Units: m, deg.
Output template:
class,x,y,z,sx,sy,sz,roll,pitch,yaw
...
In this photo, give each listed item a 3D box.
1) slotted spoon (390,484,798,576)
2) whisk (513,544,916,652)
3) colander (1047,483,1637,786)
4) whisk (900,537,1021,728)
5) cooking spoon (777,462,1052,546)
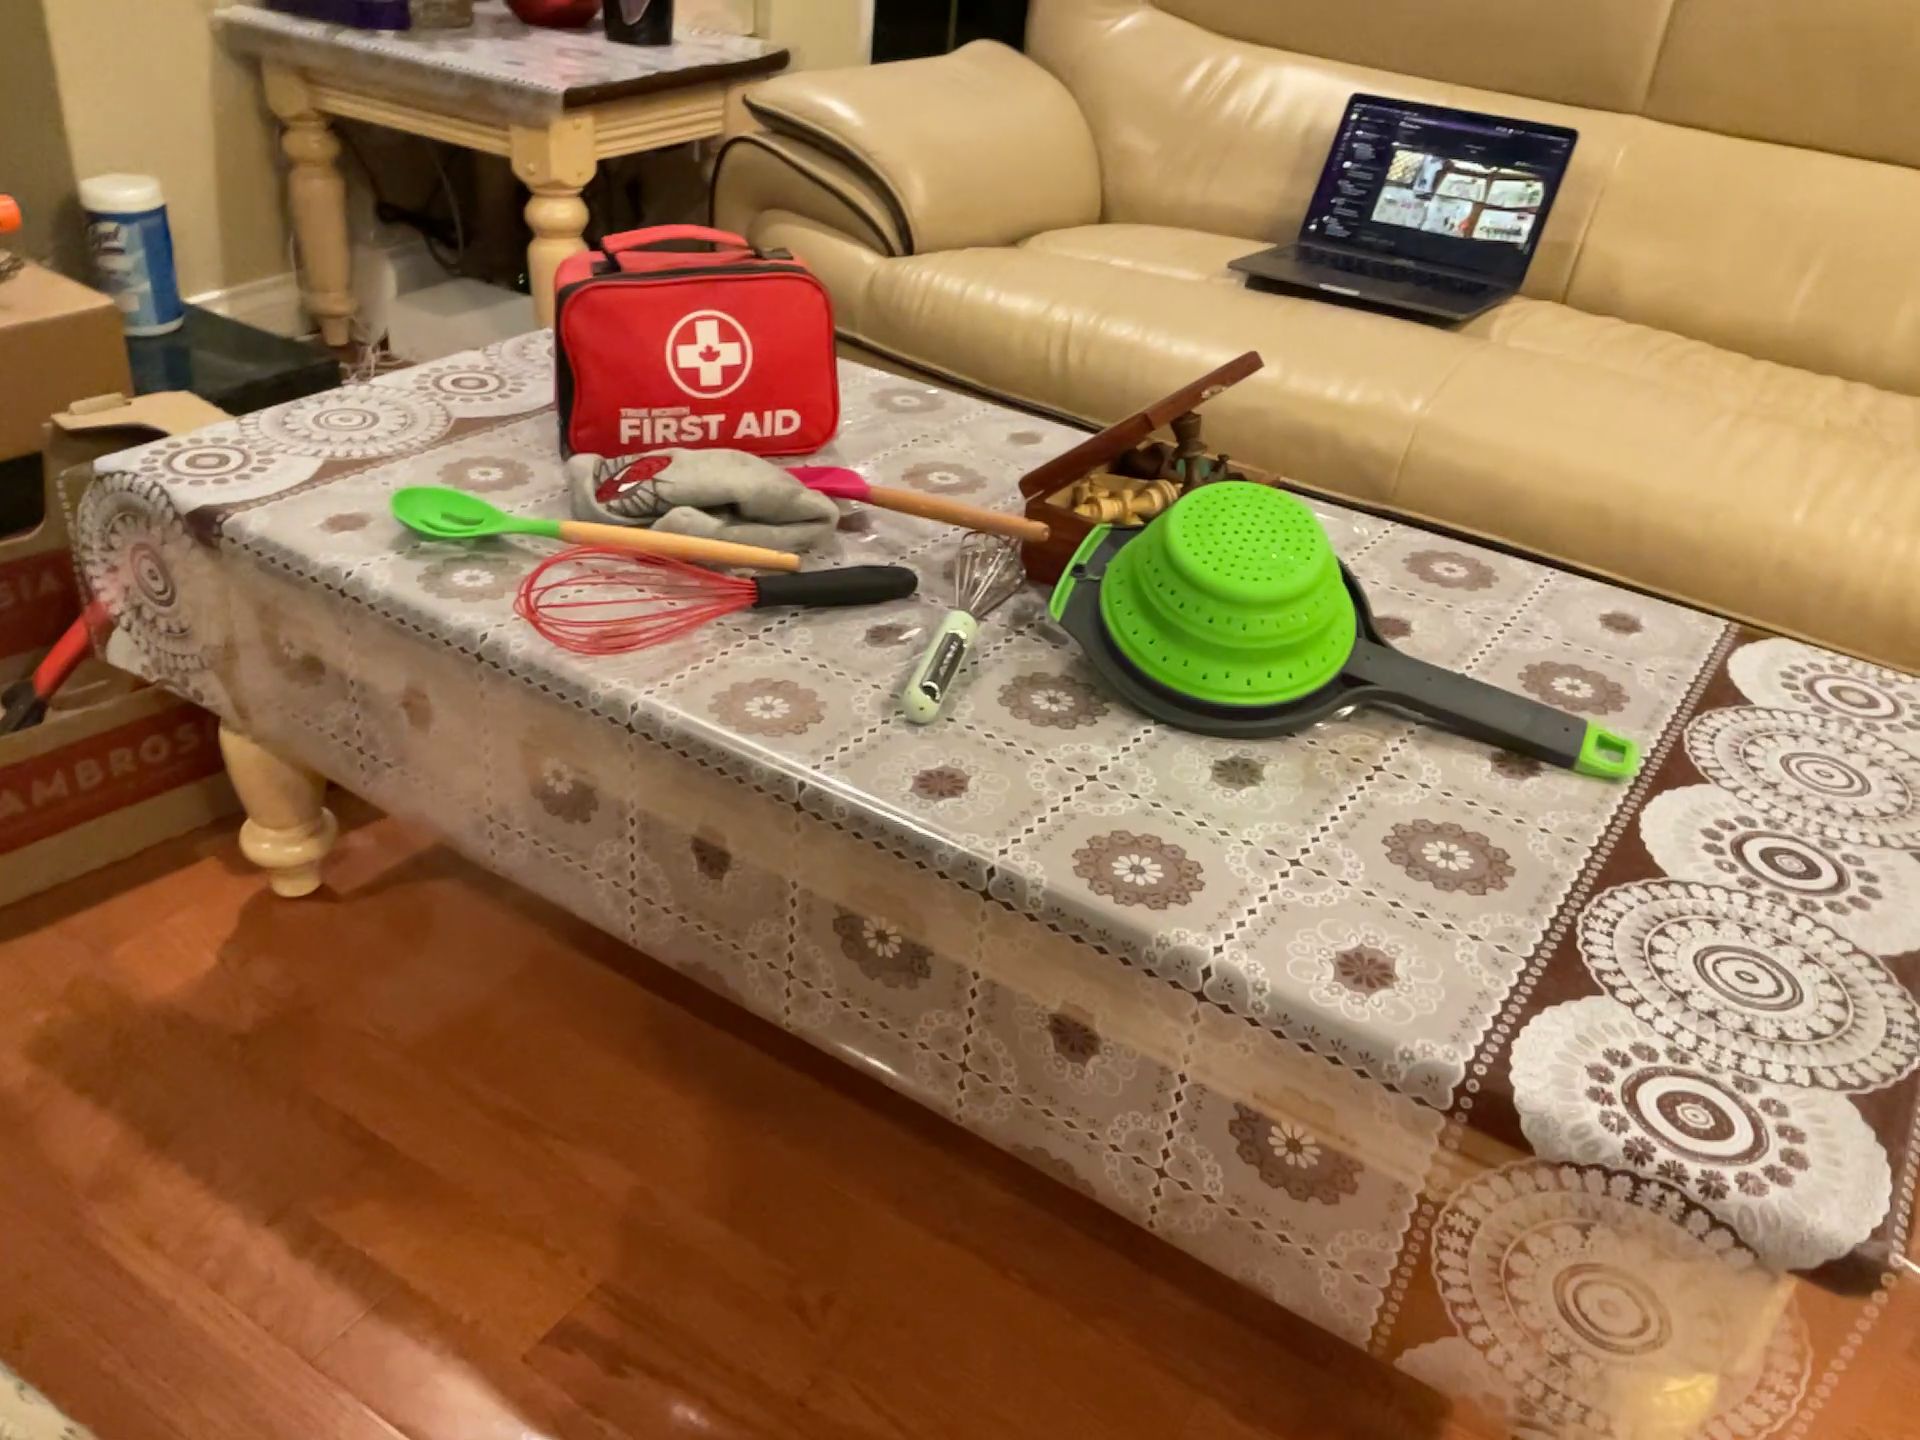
class,x,y,z,sx,sy,sz,roll,pitch,yaw
slotted spoon,-0.268,-0.133,1.159,0.314,0.031,0.070,10,31,11
whisk,-0.161,-0.088,1.100,0.295,0.073,0.073,-6,26,-30
colander,0.258,-0.061,1.046,0.397,0.094,0.205,22,53,12
whisk,0.001,-0.063,1.104,0.058,0.059,0.246,-28,20,29
cooking spoon,-0.051,-0.171,1.236,0.319,0.017,0.069,20,33,41
